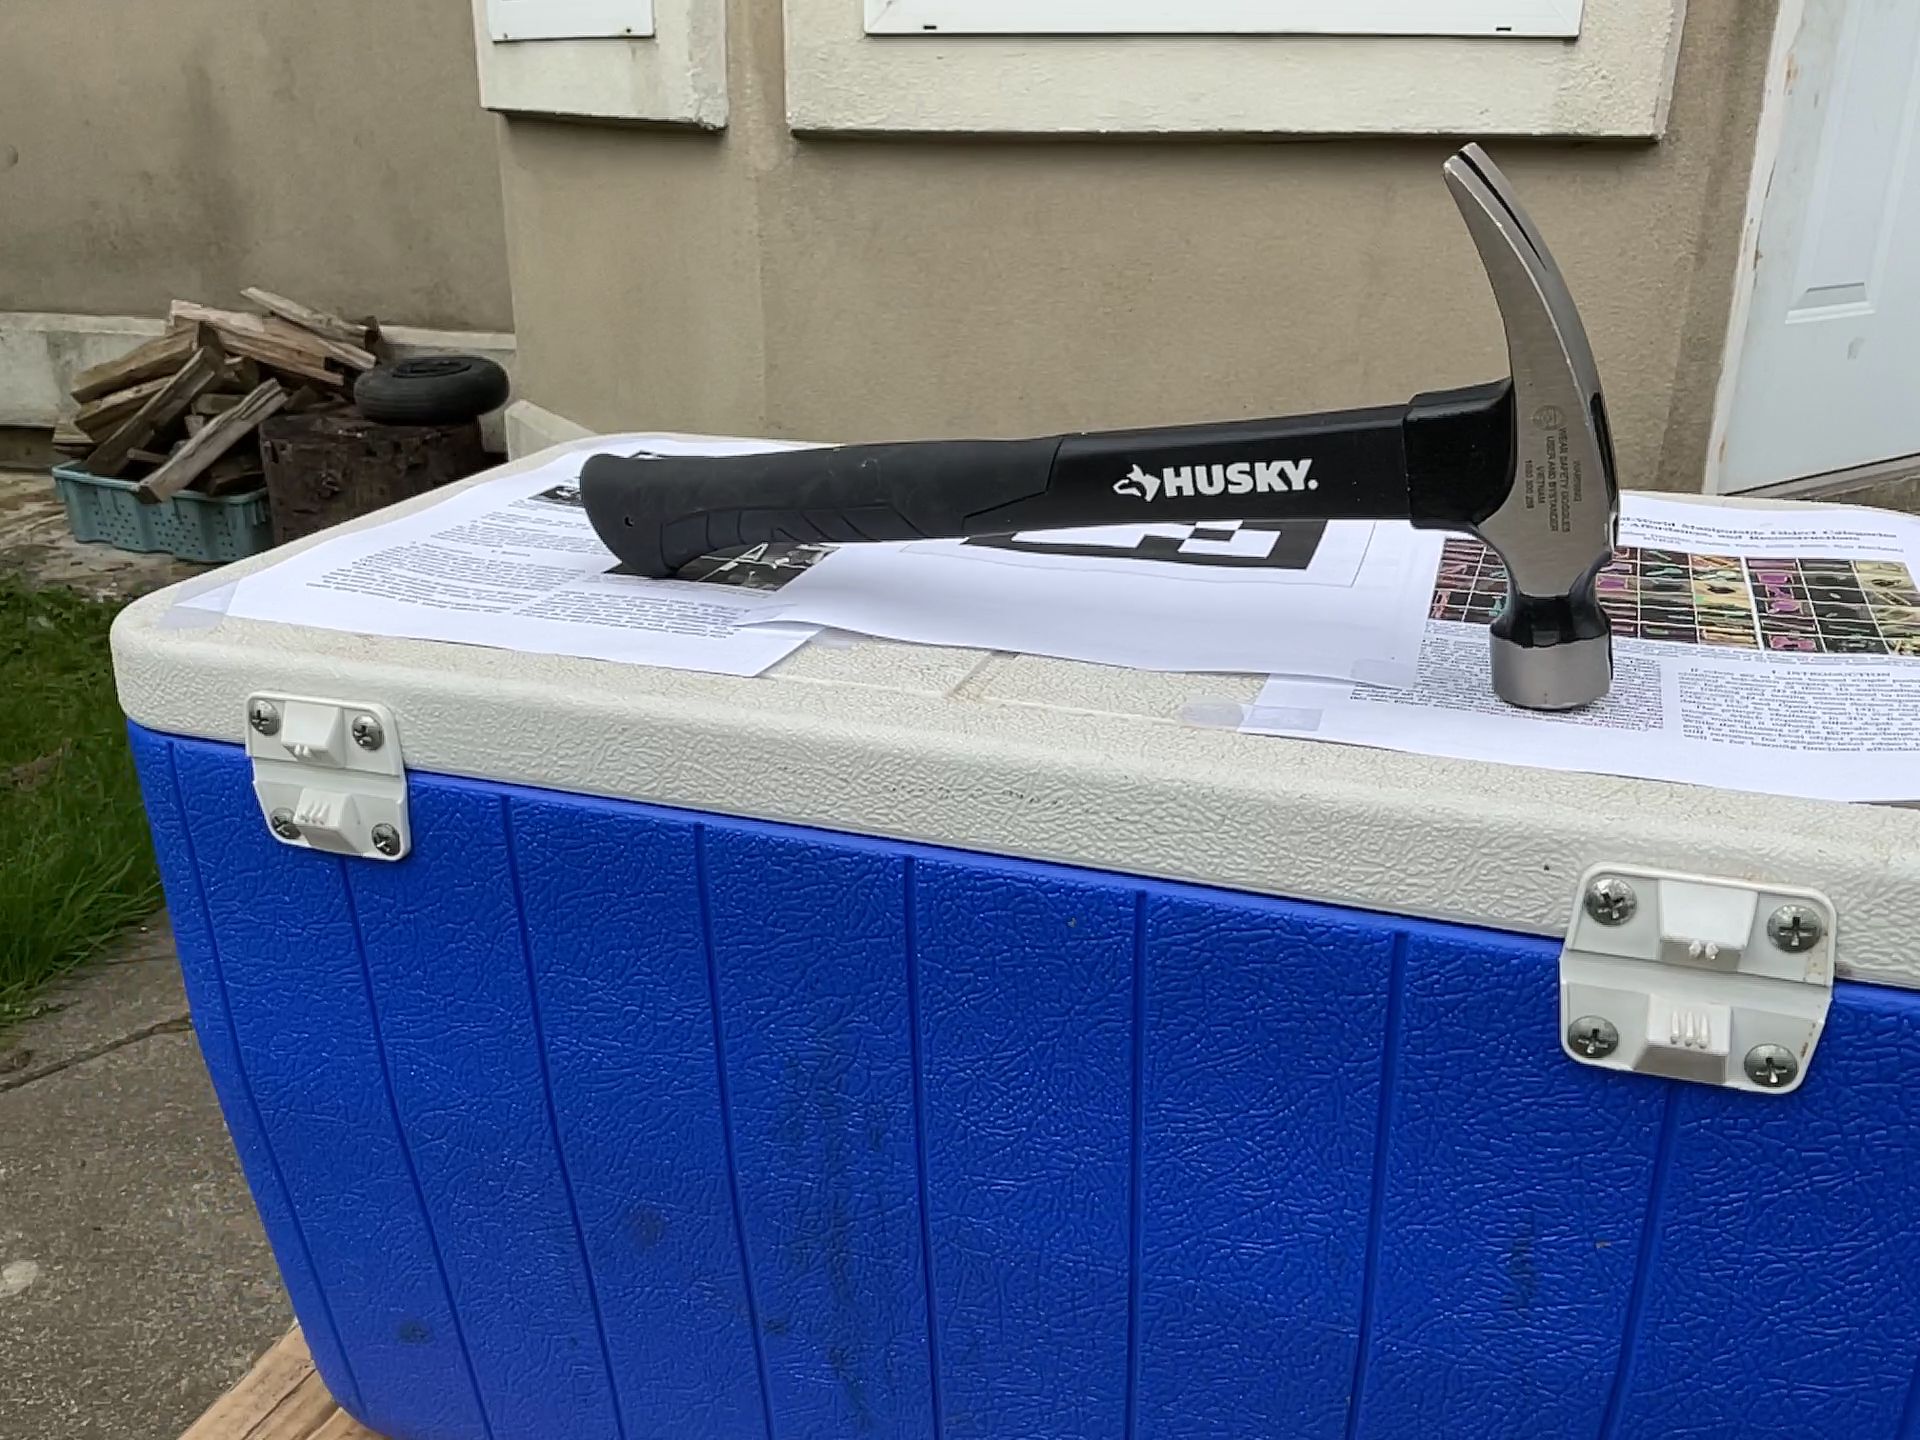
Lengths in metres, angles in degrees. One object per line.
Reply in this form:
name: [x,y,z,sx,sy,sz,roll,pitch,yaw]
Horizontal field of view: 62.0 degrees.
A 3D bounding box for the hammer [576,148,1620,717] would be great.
hammer: [0.018,-0.075,0.486,0.335,0.146,0.035,1,26,29]
